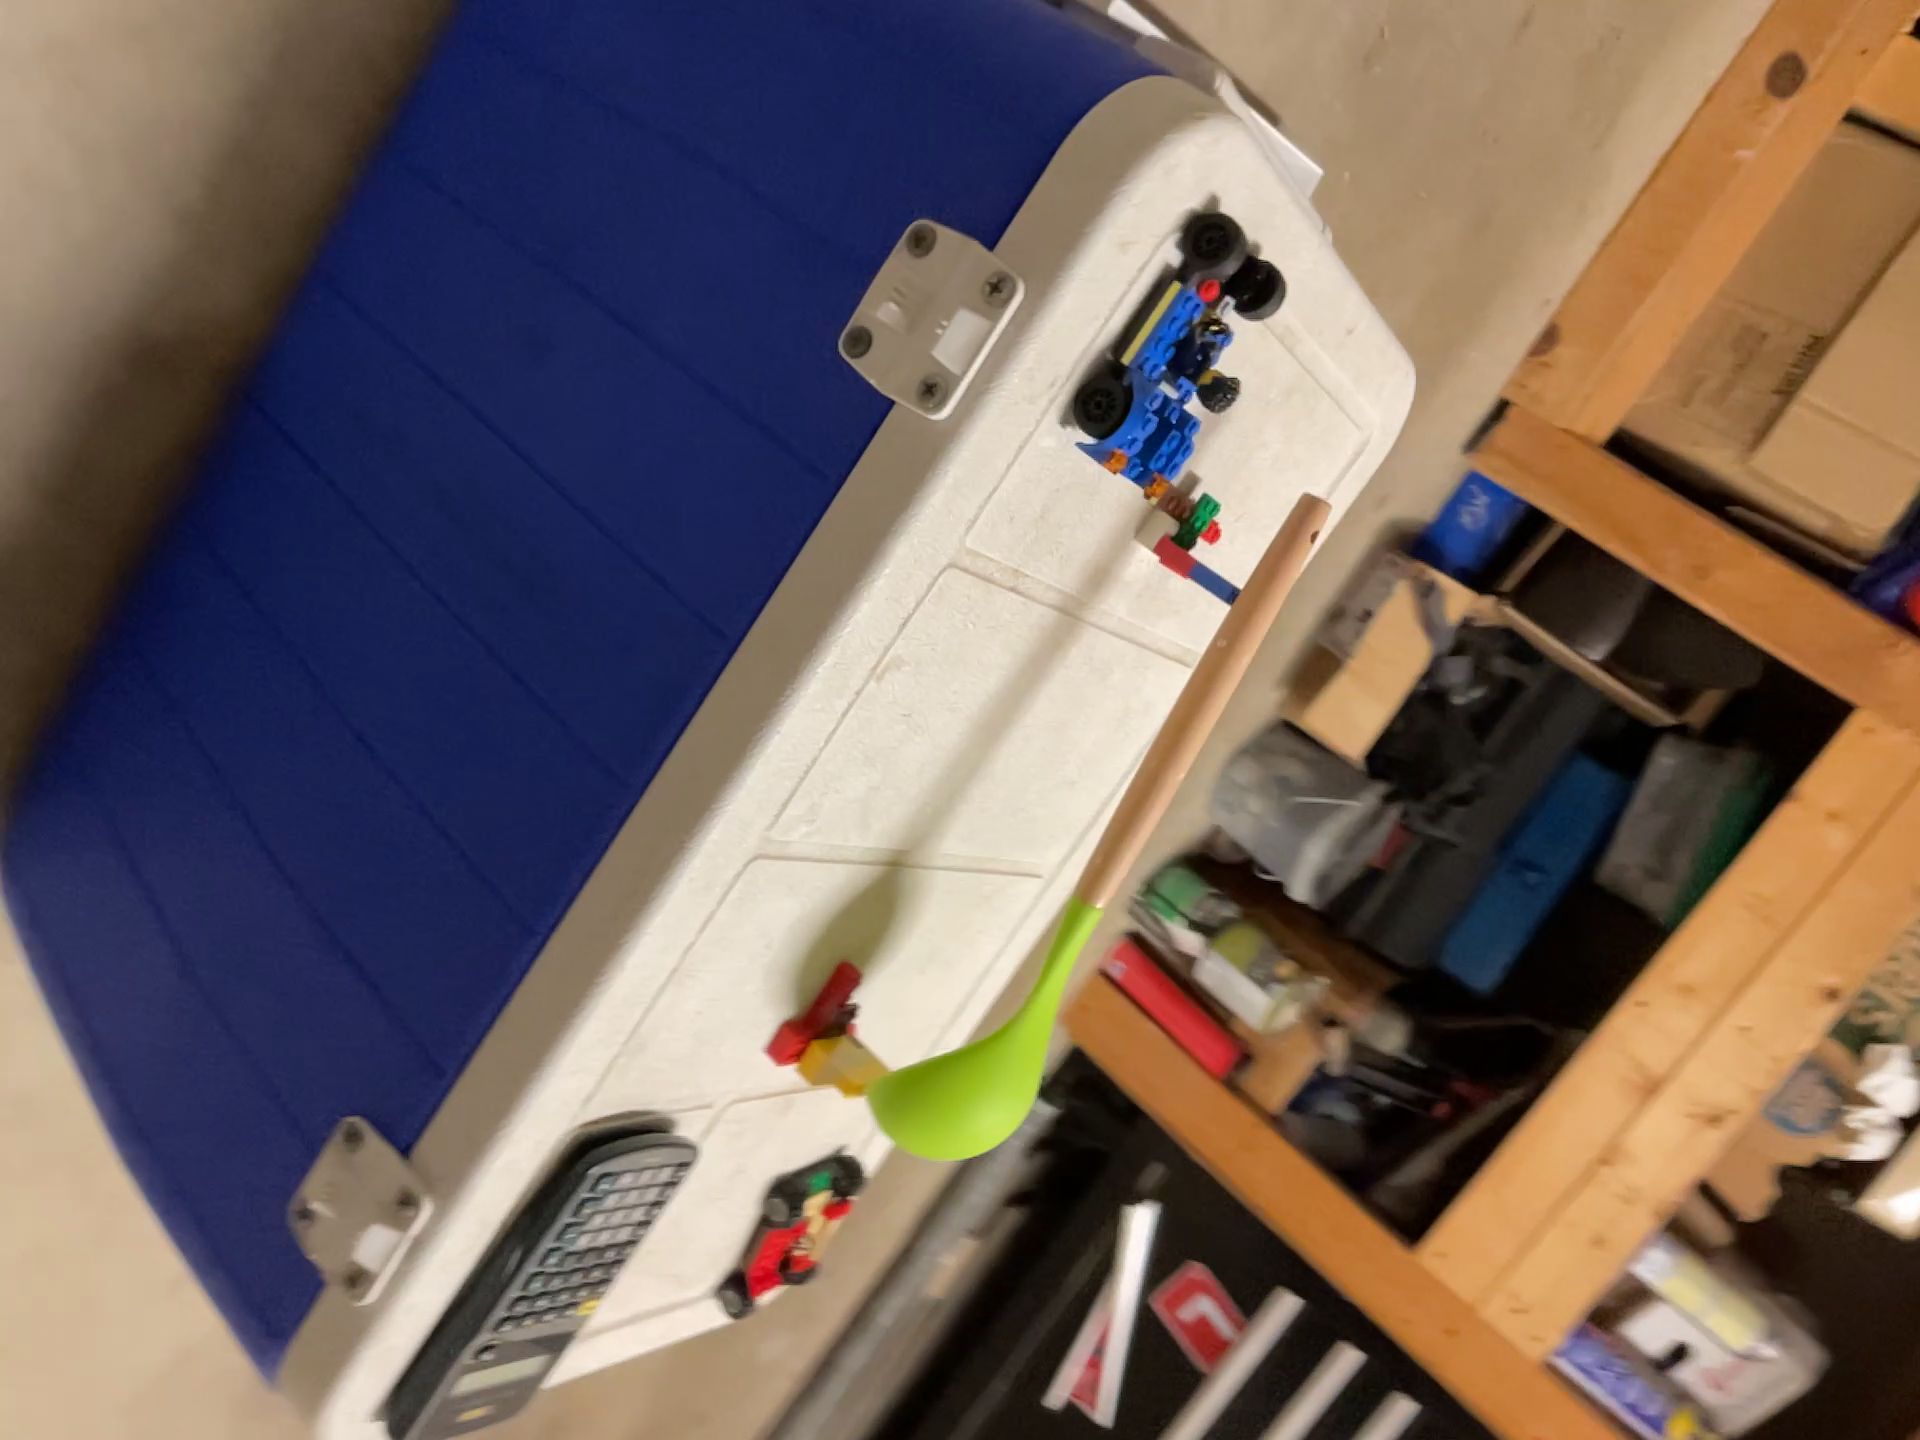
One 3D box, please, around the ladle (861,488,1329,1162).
[{"bbox_3d":[0.056,0.045,0.656,0.078,0.062,0.320,16,105,-55],"label":"ladle"}]
